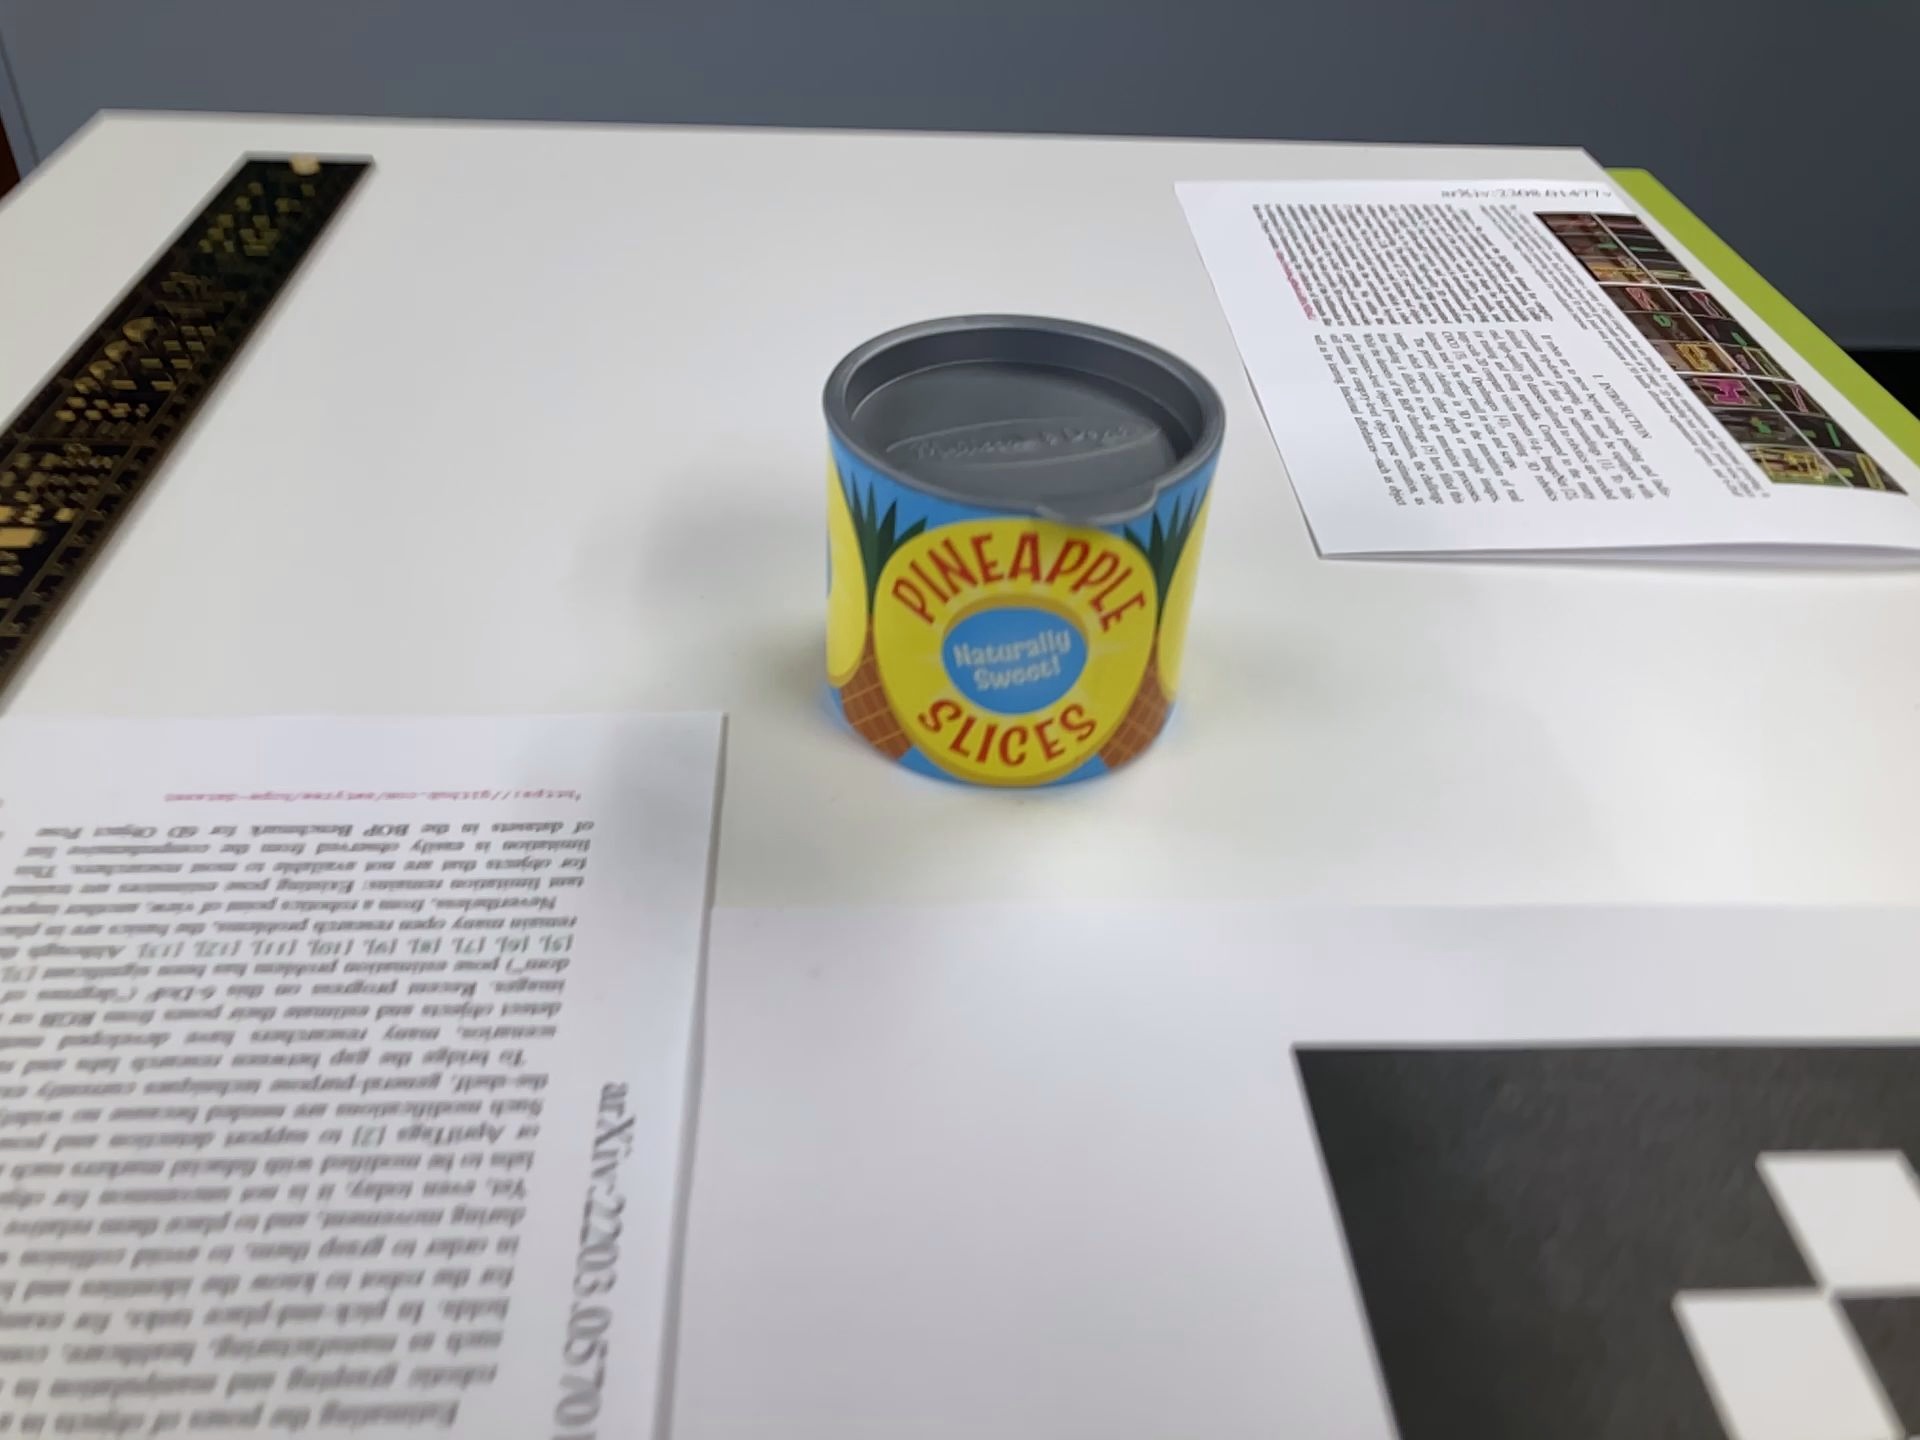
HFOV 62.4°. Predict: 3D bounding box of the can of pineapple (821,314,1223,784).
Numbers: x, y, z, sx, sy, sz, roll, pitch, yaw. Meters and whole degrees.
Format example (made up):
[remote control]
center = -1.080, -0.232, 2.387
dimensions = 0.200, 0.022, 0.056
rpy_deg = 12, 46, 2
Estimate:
[can of pineapple]
center = 0.009, -0.030, 0.276
dimensions = 0.071, 0.058, 0.071
rpy_deg = 1, 38, -1
